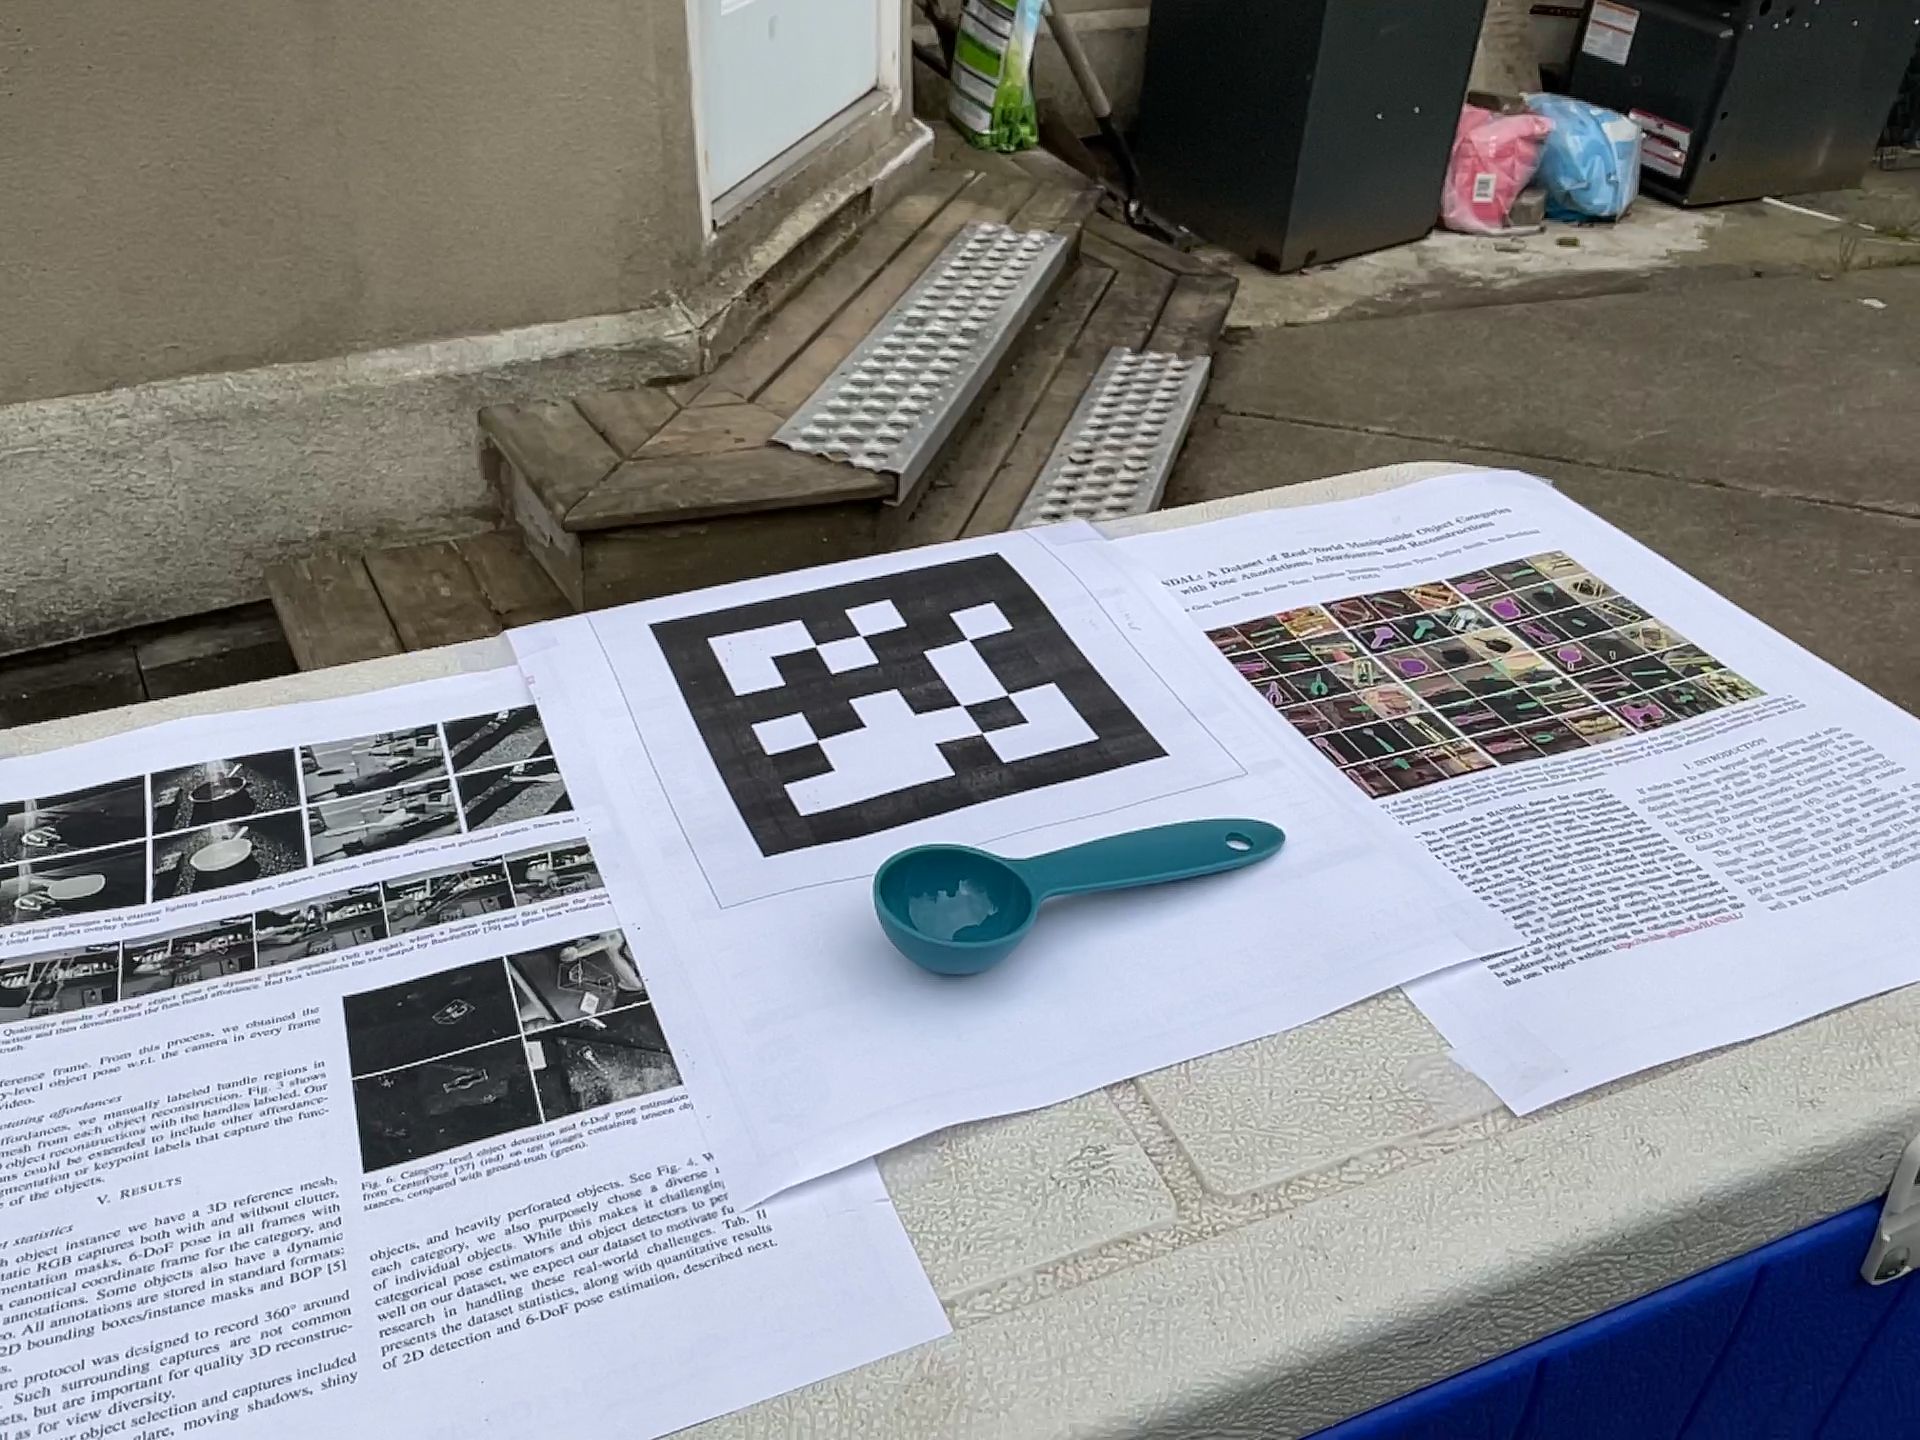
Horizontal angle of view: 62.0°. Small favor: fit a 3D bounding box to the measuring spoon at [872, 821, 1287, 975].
[{"bbox_3d":[0.035,0.047,0.432,0.128,0.021,0.042,-7,34,-28],"label":"measuring spoon"}]
